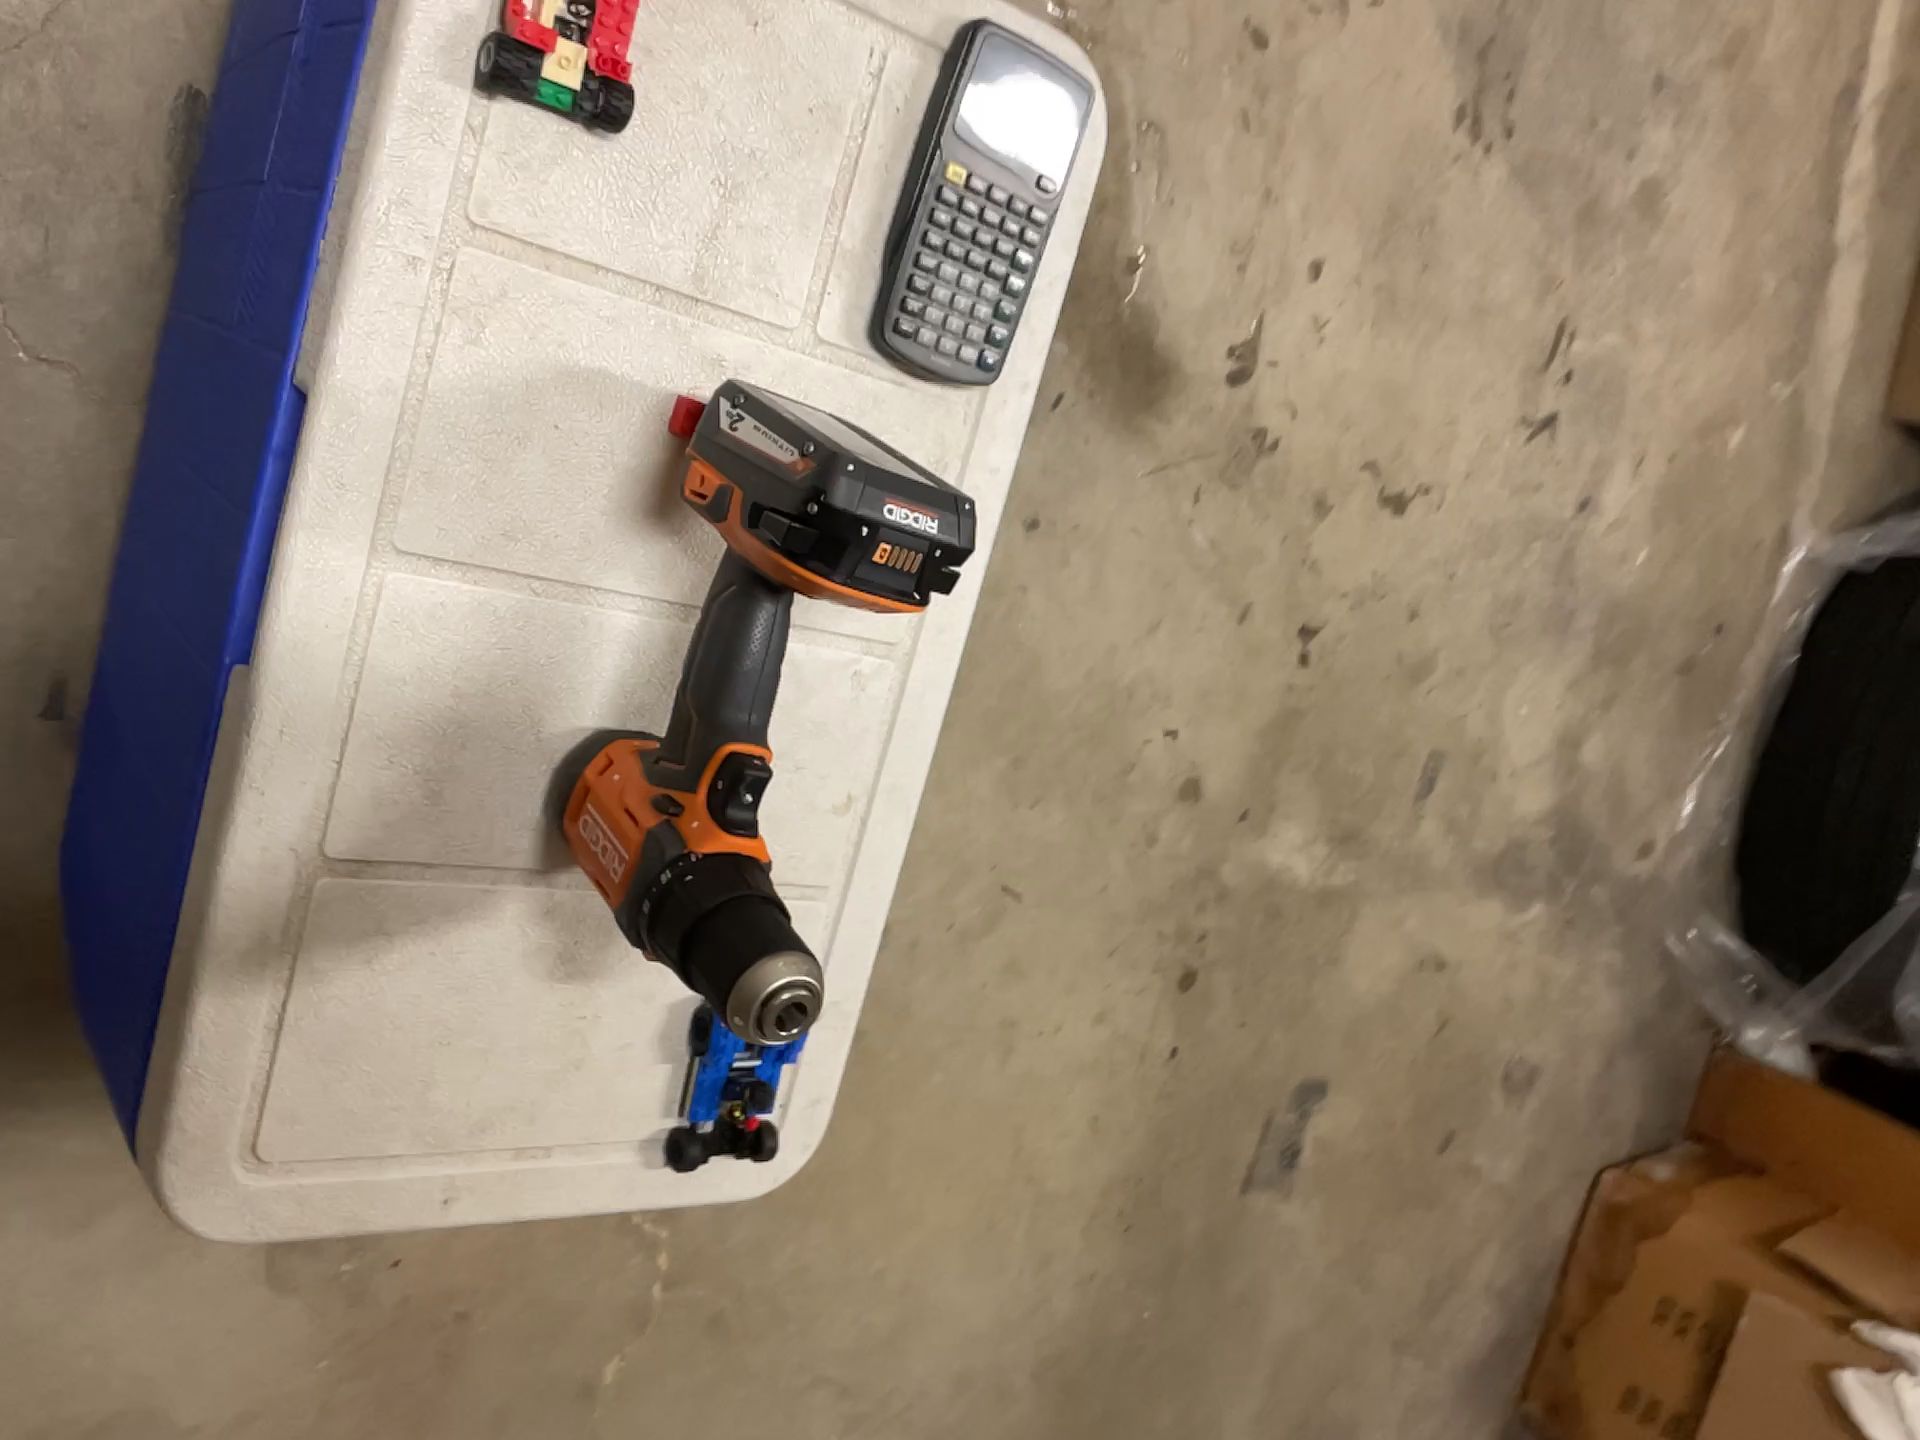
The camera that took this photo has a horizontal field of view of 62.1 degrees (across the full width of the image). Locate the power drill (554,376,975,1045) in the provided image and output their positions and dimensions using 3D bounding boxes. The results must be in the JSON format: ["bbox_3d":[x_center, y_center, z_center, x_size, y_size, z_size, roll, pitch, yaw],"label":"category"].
[{"bbox_3d":[-0.077,-0.002,0.632,0.084,0.185,0.226,14,108,-39],"label":"power drill"}]
